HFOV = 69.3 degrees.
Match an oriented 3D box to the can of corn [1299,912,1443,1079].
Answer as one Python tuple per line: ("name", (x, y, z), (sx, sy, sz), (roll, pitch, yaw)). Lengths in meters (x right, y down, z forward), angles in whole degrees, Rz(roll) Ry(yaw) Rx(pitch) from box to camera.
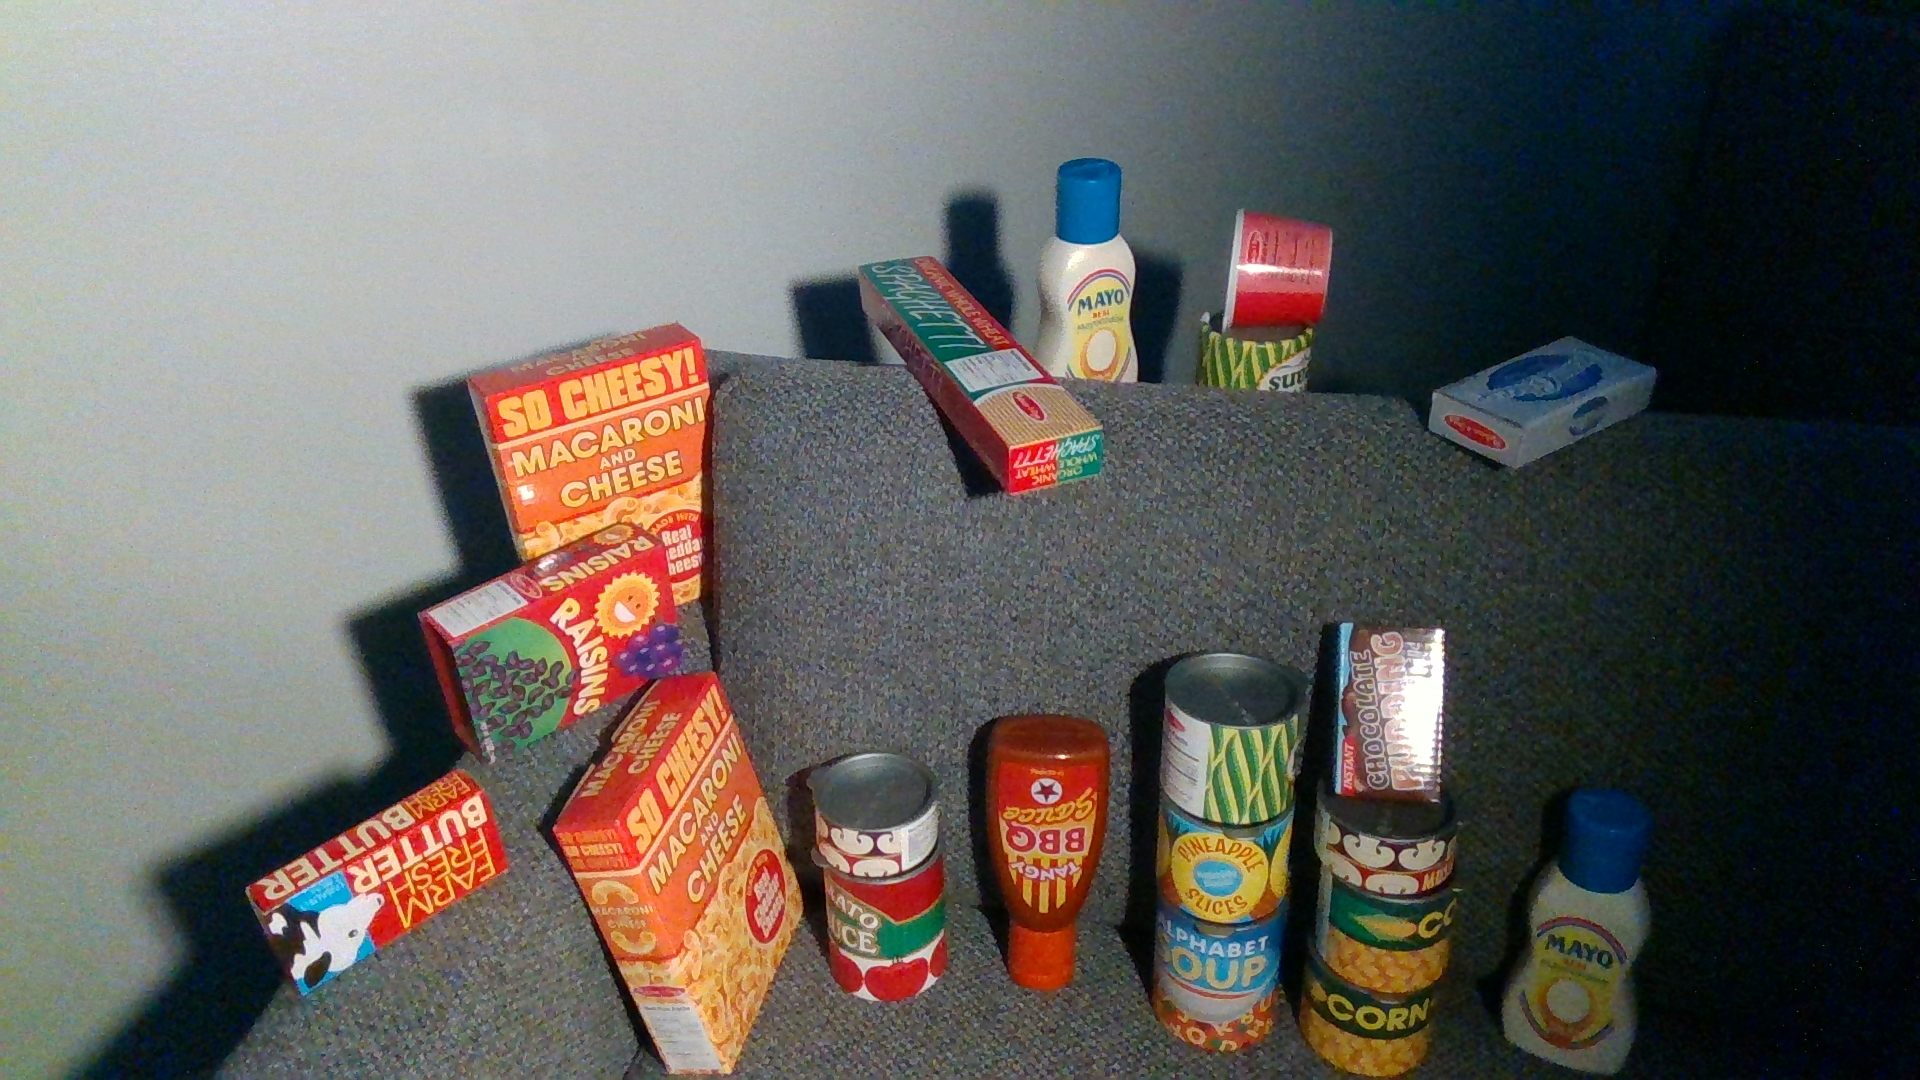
("can of corn", (0.208, 0.230, 0.706), (0.071, 0.058, 0.071), (-1, 26, 0))

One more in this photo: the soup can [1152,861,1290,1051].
("soup can", (0.132, 0.211, 0.715), (0.071, 0.083, 0.071), (-1, 26, 1))

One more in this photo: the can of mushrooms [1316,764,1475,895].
("can of mushrooms", (0.207, 0.137, 0.664), (0.071, 0.033, 0.071), (-2, 26, 1))

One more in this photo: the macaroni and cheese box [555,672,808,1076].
("macaroni and cheese box", (-0.140, 0.173, 0.724), (0.040, 0.165, 0.124), (-7, 27, 18))

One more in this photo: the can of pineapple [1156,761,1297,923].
("can of pineapple", (0.131, 0.147, 0.688), (0.071, 0.057, 0.071), (-1, 27, 1))

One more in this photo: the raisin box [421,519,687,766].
("raisin box", (-0.212, 0.052, 0.741), (0.124, 0.085, 0.040), (-28, 41, -33))

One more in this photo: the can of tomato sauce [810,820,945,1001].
("can of tomato sauce", (-0.043, 0.195, 0.746), (0.071, 0.082, 0.071), (0, 26, 0))

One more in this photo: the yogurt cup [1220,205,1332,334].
("yogurt cup", (0.178, -0.151, 0.781), (0.054, 0.072, 0.072), (7, 1, 9))

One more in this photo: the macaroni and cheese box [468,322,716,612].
("macaroni and cheese box", (-0.199, -0.029, 0.798), (0.124, 0.165, 0.040), (-21, 35, -27))

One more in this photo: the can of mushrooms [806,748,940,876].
("can of mushrooms", (-0.046, 0.141, 0.726), (0.071, 0.033, 0.071), (-1, 30, 1))

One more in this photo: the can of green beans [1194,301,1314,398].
("can of green beans", (0.170, -0.102, 0.809), (0.071, 0.057, 0.071), (-2, 33, 1))

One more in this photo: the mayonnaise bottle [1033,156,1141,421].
("mayonnaise bottle", (0.071, -0.141, 0.790), (0.065, 0.147, 0.041), (-15, 36, -17))

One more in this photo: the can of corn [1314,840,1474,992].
("can of corn", (0.211, 0.178, 0.681), (0.071, 0.058, 0.071), (-2, 27, 1))

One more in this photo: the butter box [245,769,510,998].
("butter box", (-0.258, 0.152, 0.623), (0.104, 0.052, 0.024), (-31, 40, -34))

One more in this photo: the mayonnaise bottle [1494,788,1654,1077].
("mayonnaise bottle", (0.304, 0.191, 0.680), (0.065, 0.147, 0.041), (13, 29, 26))

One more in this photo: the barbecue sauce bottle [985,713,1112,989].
("barbecue sauce bottle", (0.045, 0.165, 0.729), (0.065, 0.148, 0.044), (2, 22, 4))

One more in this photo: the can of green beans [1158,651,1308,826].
("can of green beans", (0.129, 0.095, 0.666), (0.071, 0.057, 0.071), (-1, 27, 1))

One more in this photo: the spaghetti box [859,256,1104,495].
("spaghetti box", (0.004, -0.096, 0.736), (0.050, 0.028, 0.251), (-12, 33, -15))

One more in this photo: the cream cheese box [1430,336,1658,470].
("cream cheese box", (0.286, -0.069, 0.681), (0.104, 0.024, 0.053), (-21, 38, -27))

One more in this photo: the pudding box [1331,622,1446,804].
("pudding box", (0.205, 0.082, 0.666), (0.050, 0.084, 0.030), (3, -8, 13))
